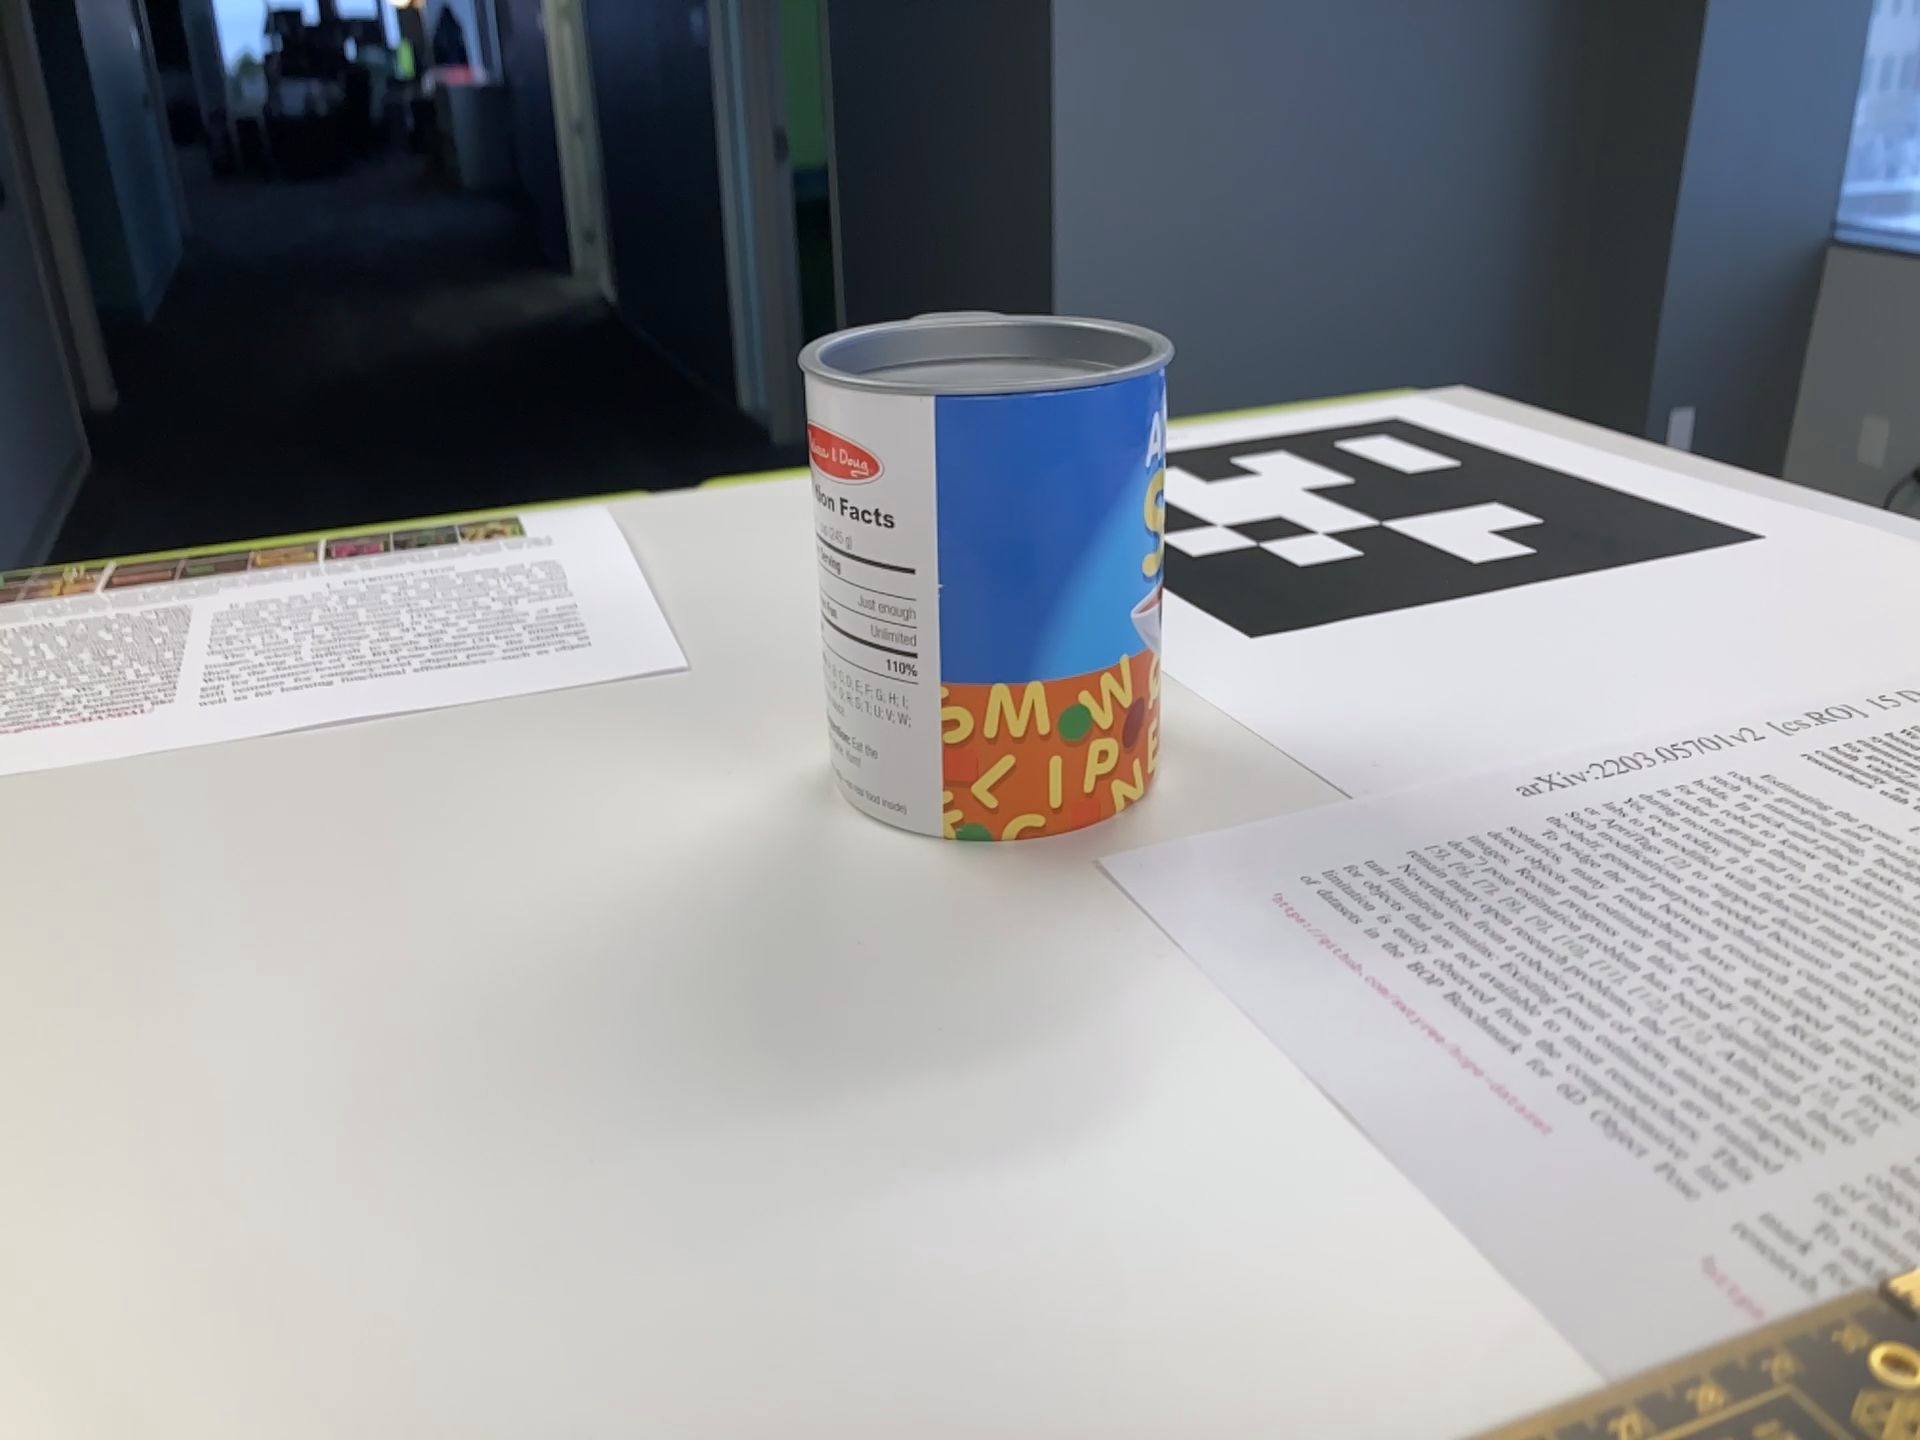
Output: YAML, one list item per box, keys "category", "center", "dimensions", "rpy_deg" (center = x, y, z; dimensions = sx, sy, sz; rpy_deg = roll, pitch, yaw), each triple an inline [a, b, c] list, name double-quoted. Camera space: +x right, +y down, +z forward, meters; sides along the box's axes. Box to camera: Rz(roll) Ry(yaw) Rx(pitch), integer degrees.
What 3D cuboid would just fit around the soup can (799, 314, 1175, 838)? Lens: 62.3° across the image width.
- category: "soup can"
  center: [0.008, -0.030, 0.301]
  dimensions: [0.071, 0.084, 0.071]
  rpy_deg: [-2, 24, 1]
